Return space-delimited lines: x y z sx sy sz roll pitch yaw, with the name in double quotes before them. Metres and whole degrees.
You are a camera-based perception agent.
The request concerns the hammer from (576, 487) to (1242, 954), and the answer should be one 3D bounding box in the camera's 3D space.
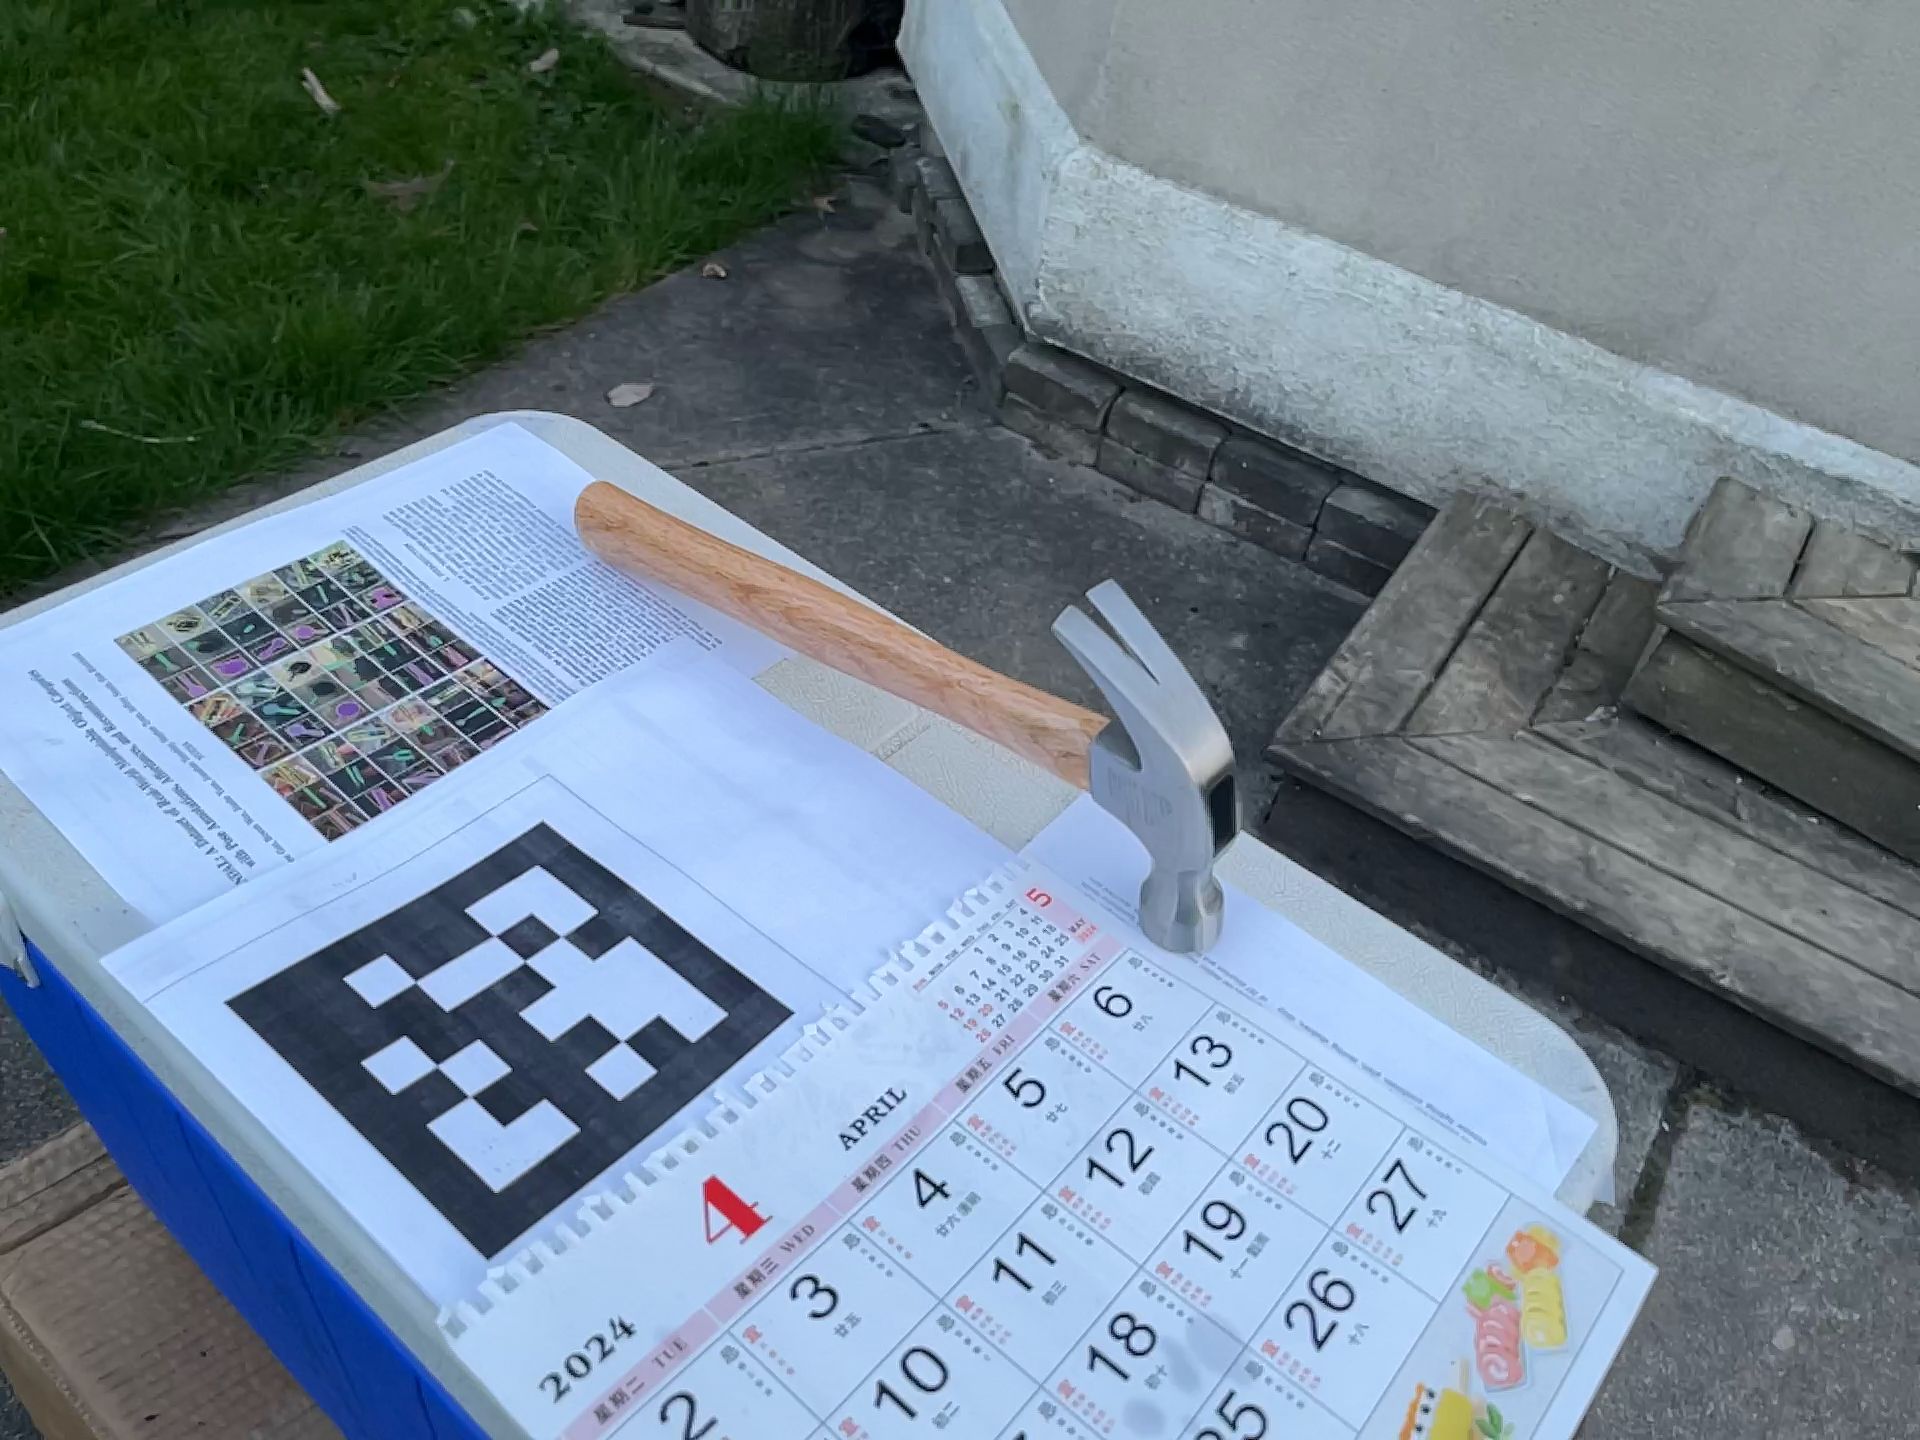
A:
"hammer" -0.037 -0.030 0.607 0.331 0.130 0.031 26 49 31
